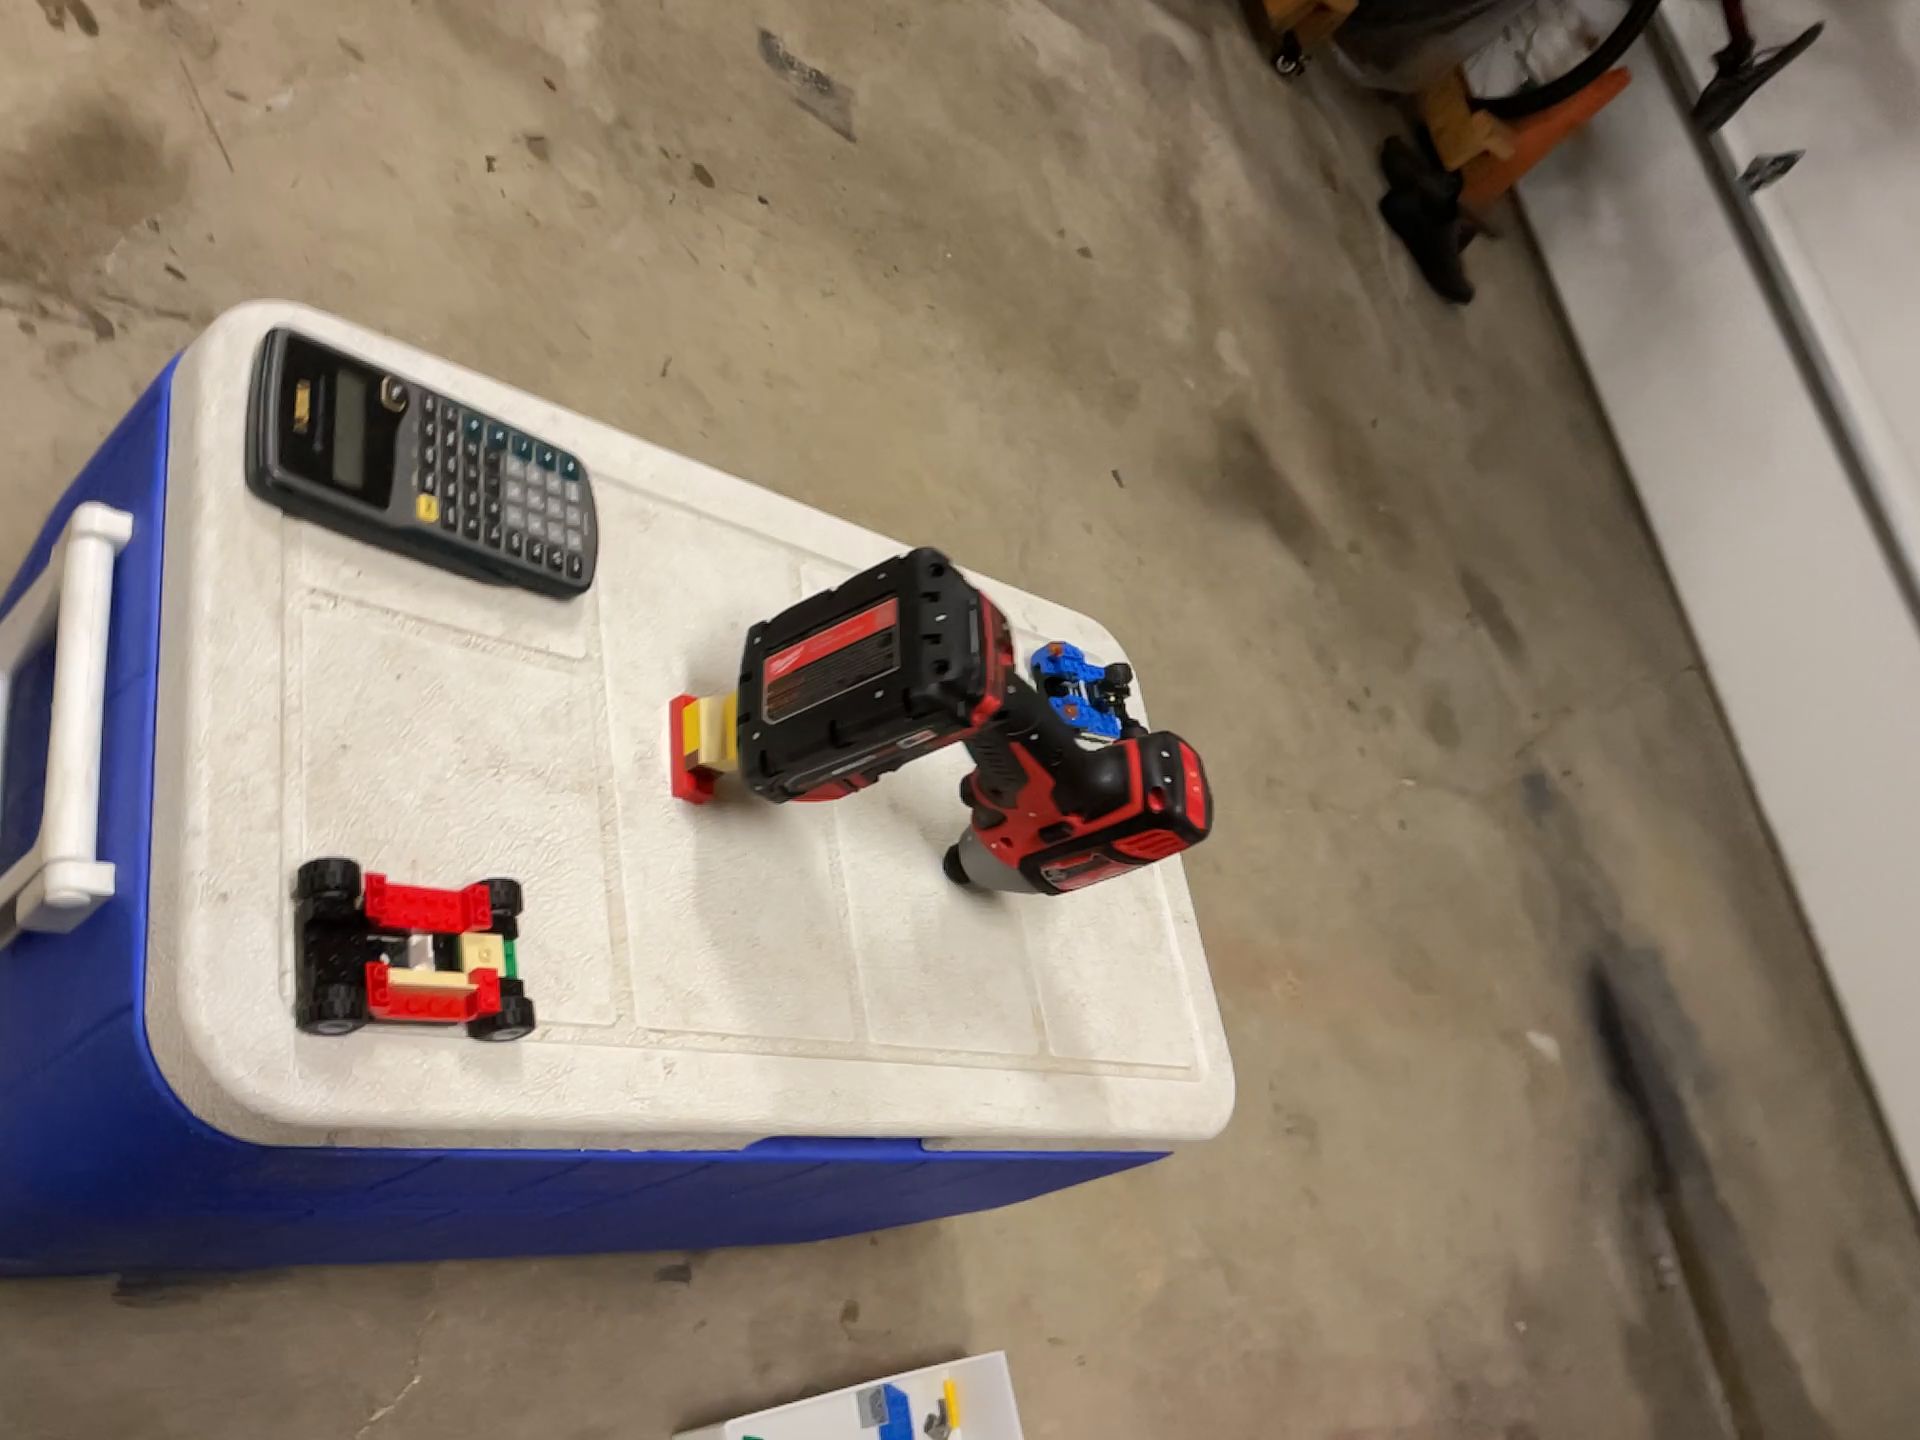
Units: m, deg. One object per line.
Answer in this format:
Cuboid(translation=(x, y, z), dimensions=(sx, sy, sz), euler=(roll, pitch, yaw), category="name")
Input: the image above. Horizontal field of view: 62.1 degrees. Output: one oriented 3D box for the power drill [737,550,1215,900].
Cuboid(translation=(0.006, 0.021, 0.732), dimensions=(0.219, 0.143, 0.079), euler=(34, 44, -44), category="power drill")
